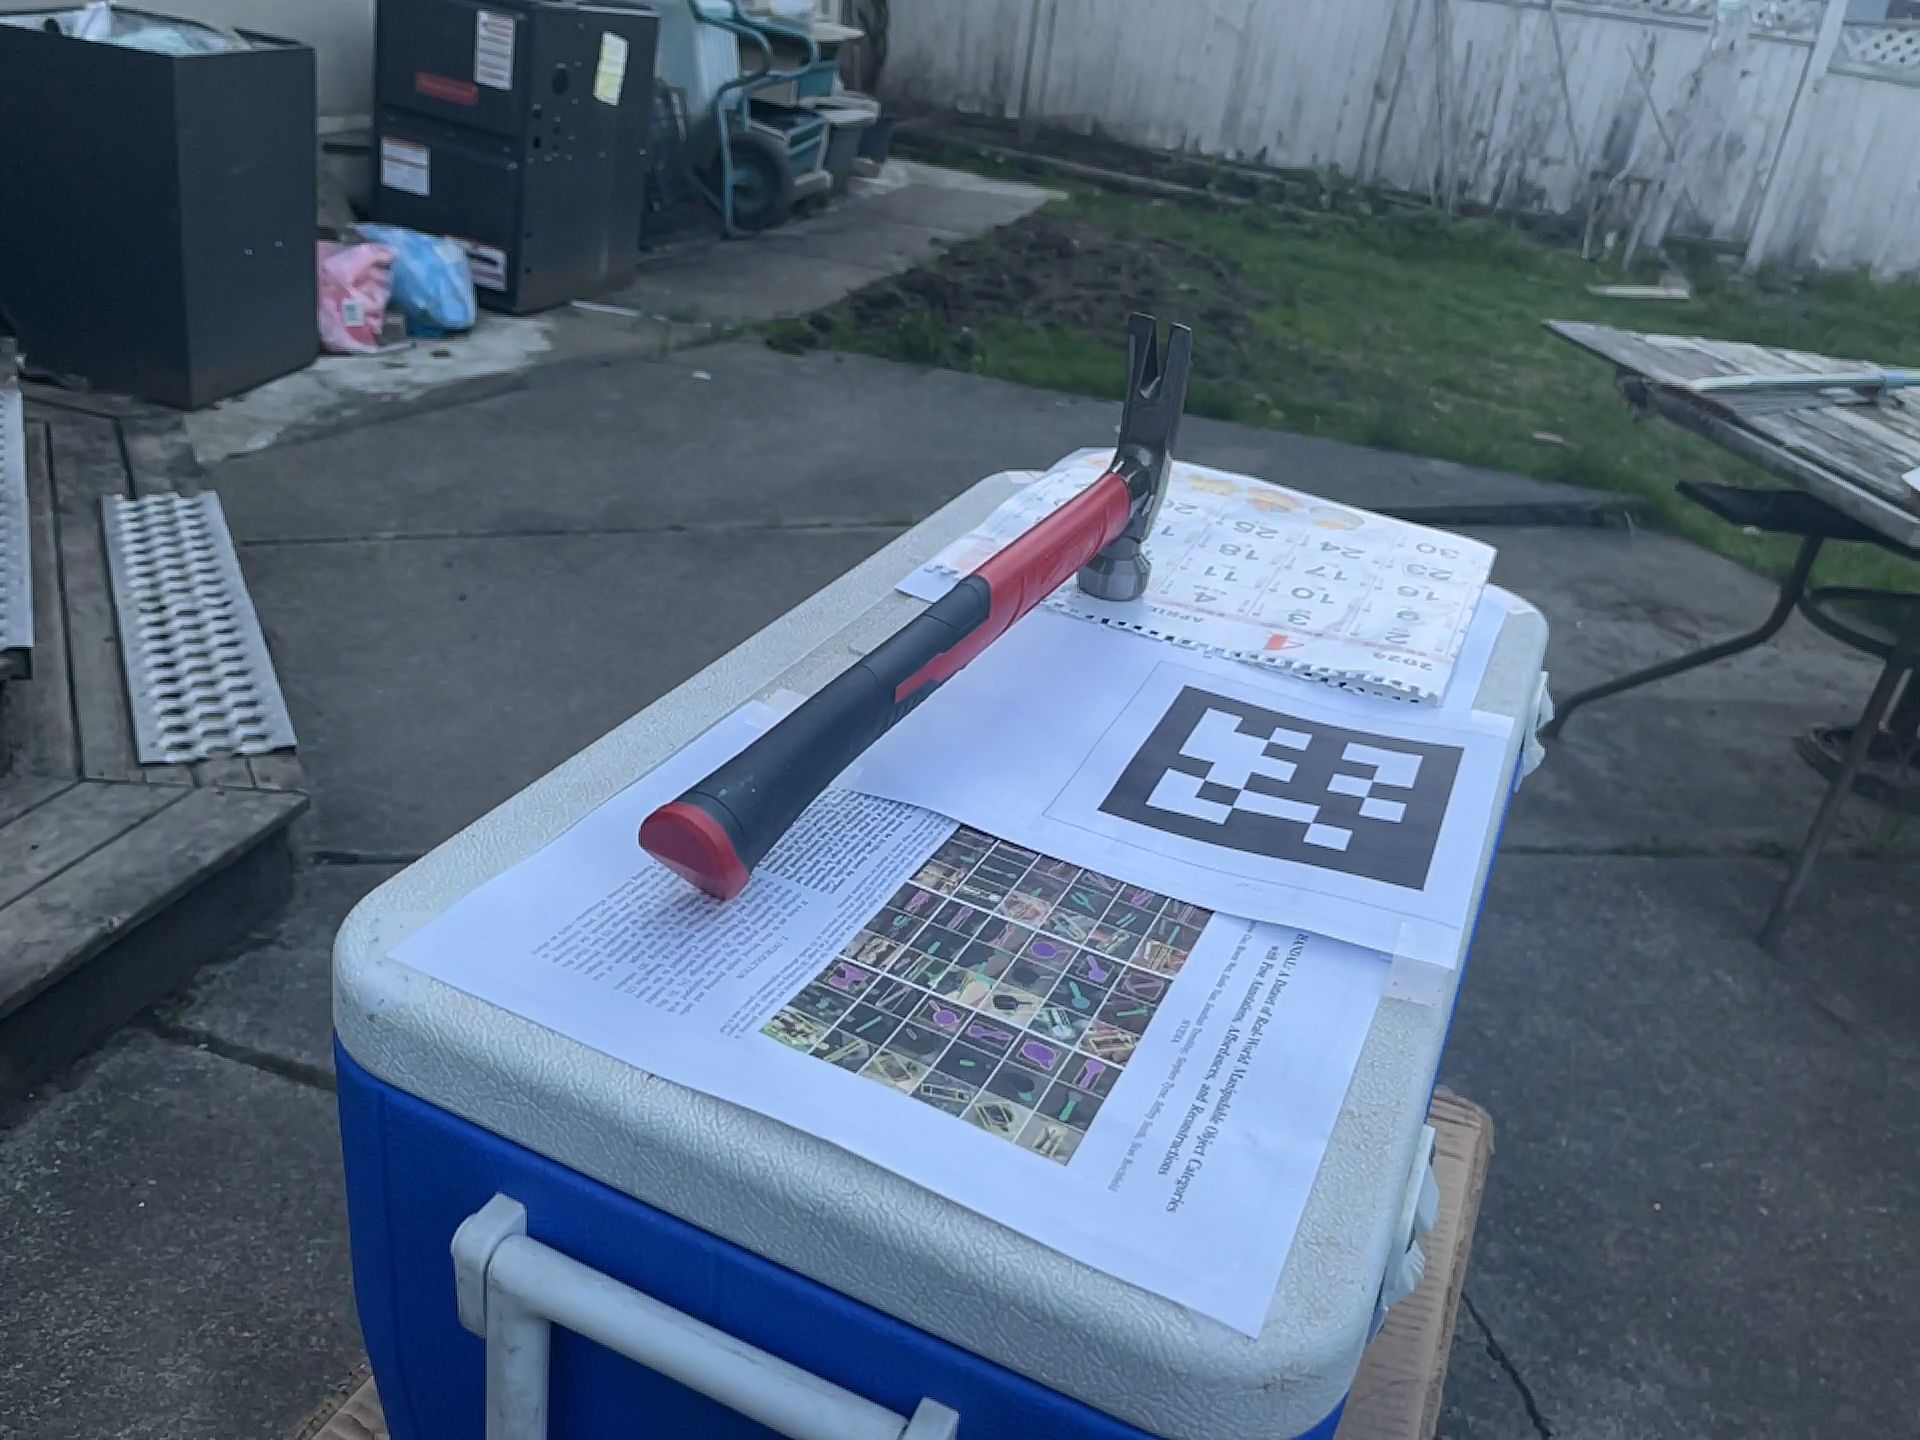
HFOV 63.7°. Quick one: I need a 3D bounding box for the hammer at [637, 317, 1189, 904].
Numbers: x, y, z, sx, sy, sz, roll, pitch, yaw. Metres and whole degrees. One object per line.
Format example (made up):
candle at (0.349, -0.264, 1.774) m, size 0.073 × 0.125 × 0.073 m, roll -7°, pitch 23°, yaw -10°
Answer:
hammer at (0.002, -0.052, 0.636) m, size 0.038 × 0.143 × 0.386 m, roll 21°, pitch 35°, yaw 21°
